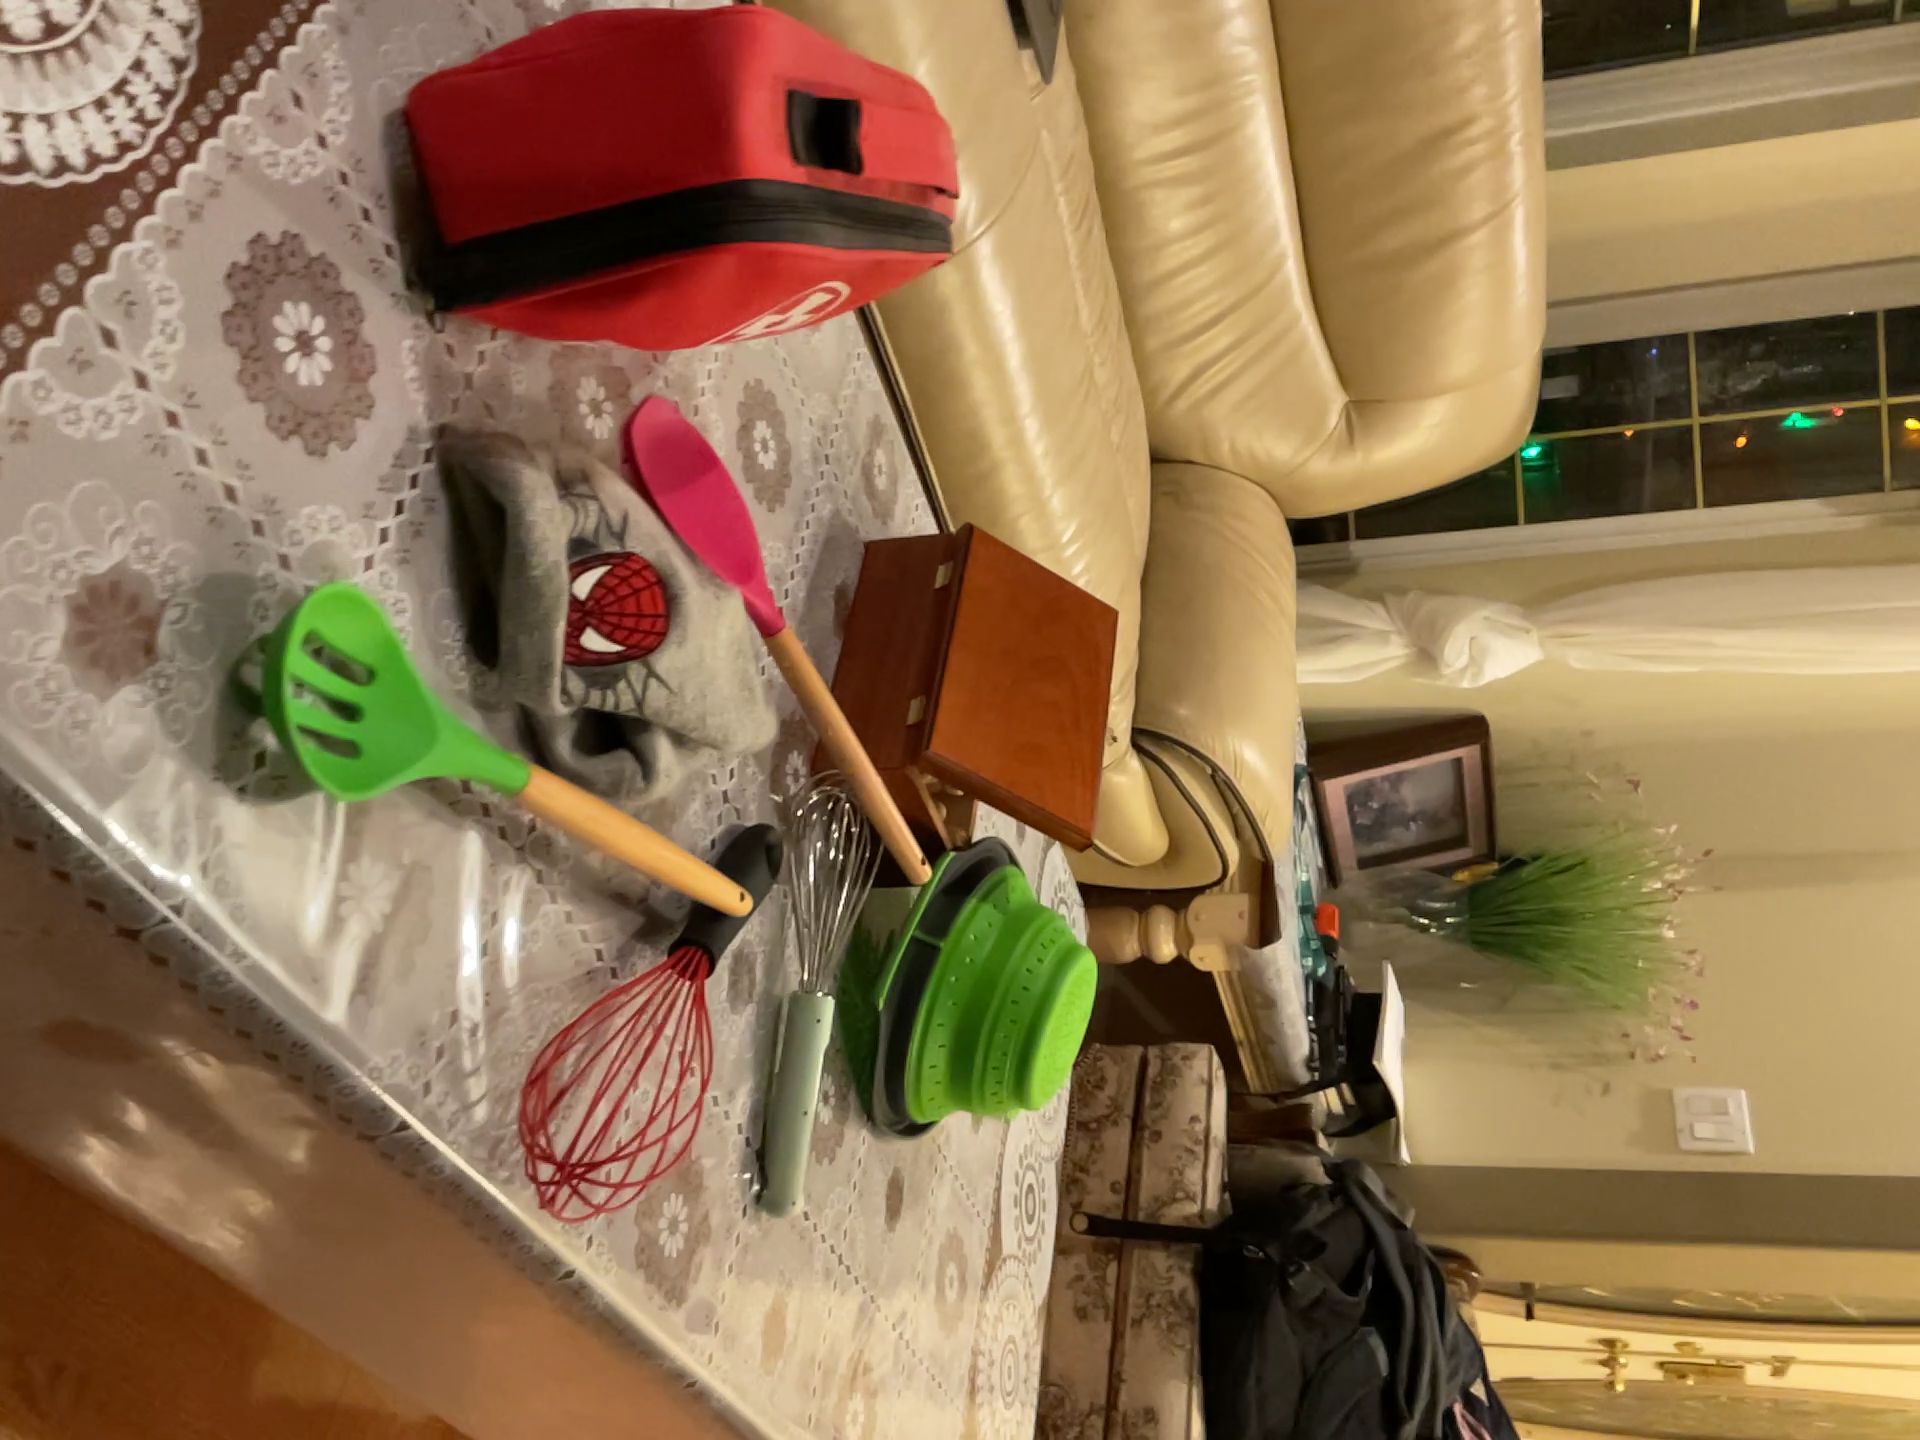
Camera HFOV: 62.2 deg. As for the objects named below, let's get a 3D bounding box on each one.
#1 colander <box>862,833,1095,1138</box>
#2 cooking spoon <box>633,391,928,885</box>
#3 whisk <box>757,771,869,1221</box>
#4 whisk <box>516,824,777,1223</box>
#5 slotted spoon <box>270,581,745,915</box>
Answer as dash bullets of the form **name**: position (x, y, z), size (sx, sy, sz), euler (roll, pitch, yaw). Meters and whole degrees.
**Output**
- **colander**: position (0.039, 0.221, 1.089), size (0.205, 0.094, 0.396), euler (-63, 158, -22)
- **cooking spoon**: position (-0.087, -0.029, 0.835), size (0.318, 0.017, 0.069), euler (62, 29, -31)
- **whisk**: position (-0.086, 0.145, 0.870), size (0.057, 0.059, 0.246), euler (16, 67, -28)
- **whisk**: position (-0.126, 0.117, 0.714), size (0.296, 0.073, 0.073), euler (-69, 145, -67)
- **slotted spoon**: position (-0.161, 0.032, 0.622), size (0.313, 0.031, 0.070), euler (47, 42, -61)
